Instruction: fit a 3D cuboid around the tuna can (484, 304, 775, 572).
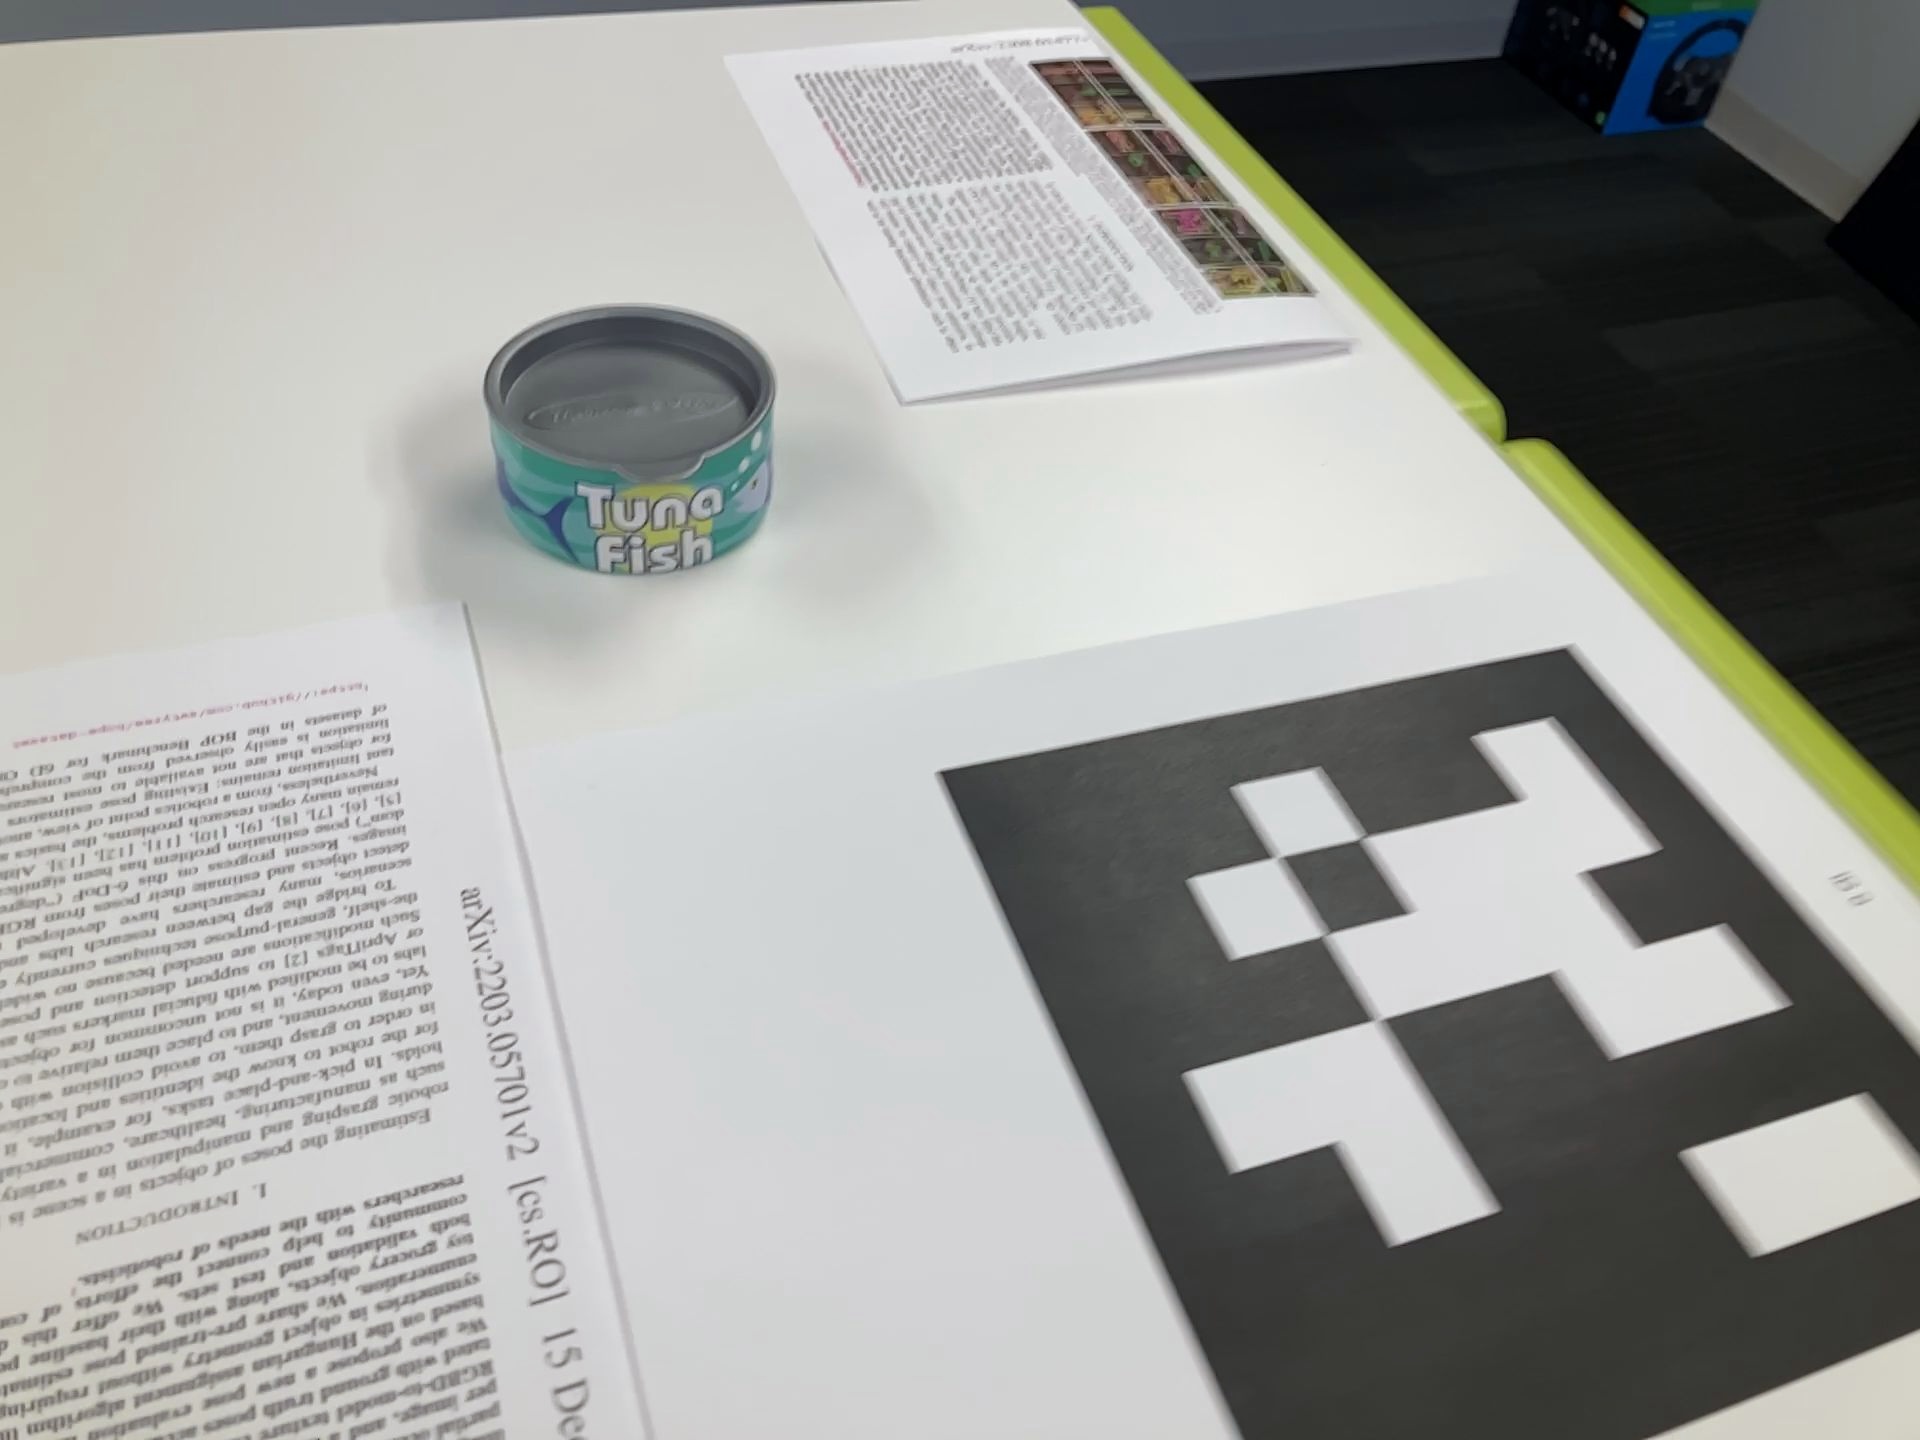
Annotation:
[{"bbox_3d":[-0.077,-0.066,0.376,0.071,0.033,0.071,4,45,-4],"label":"tuna can"}]
